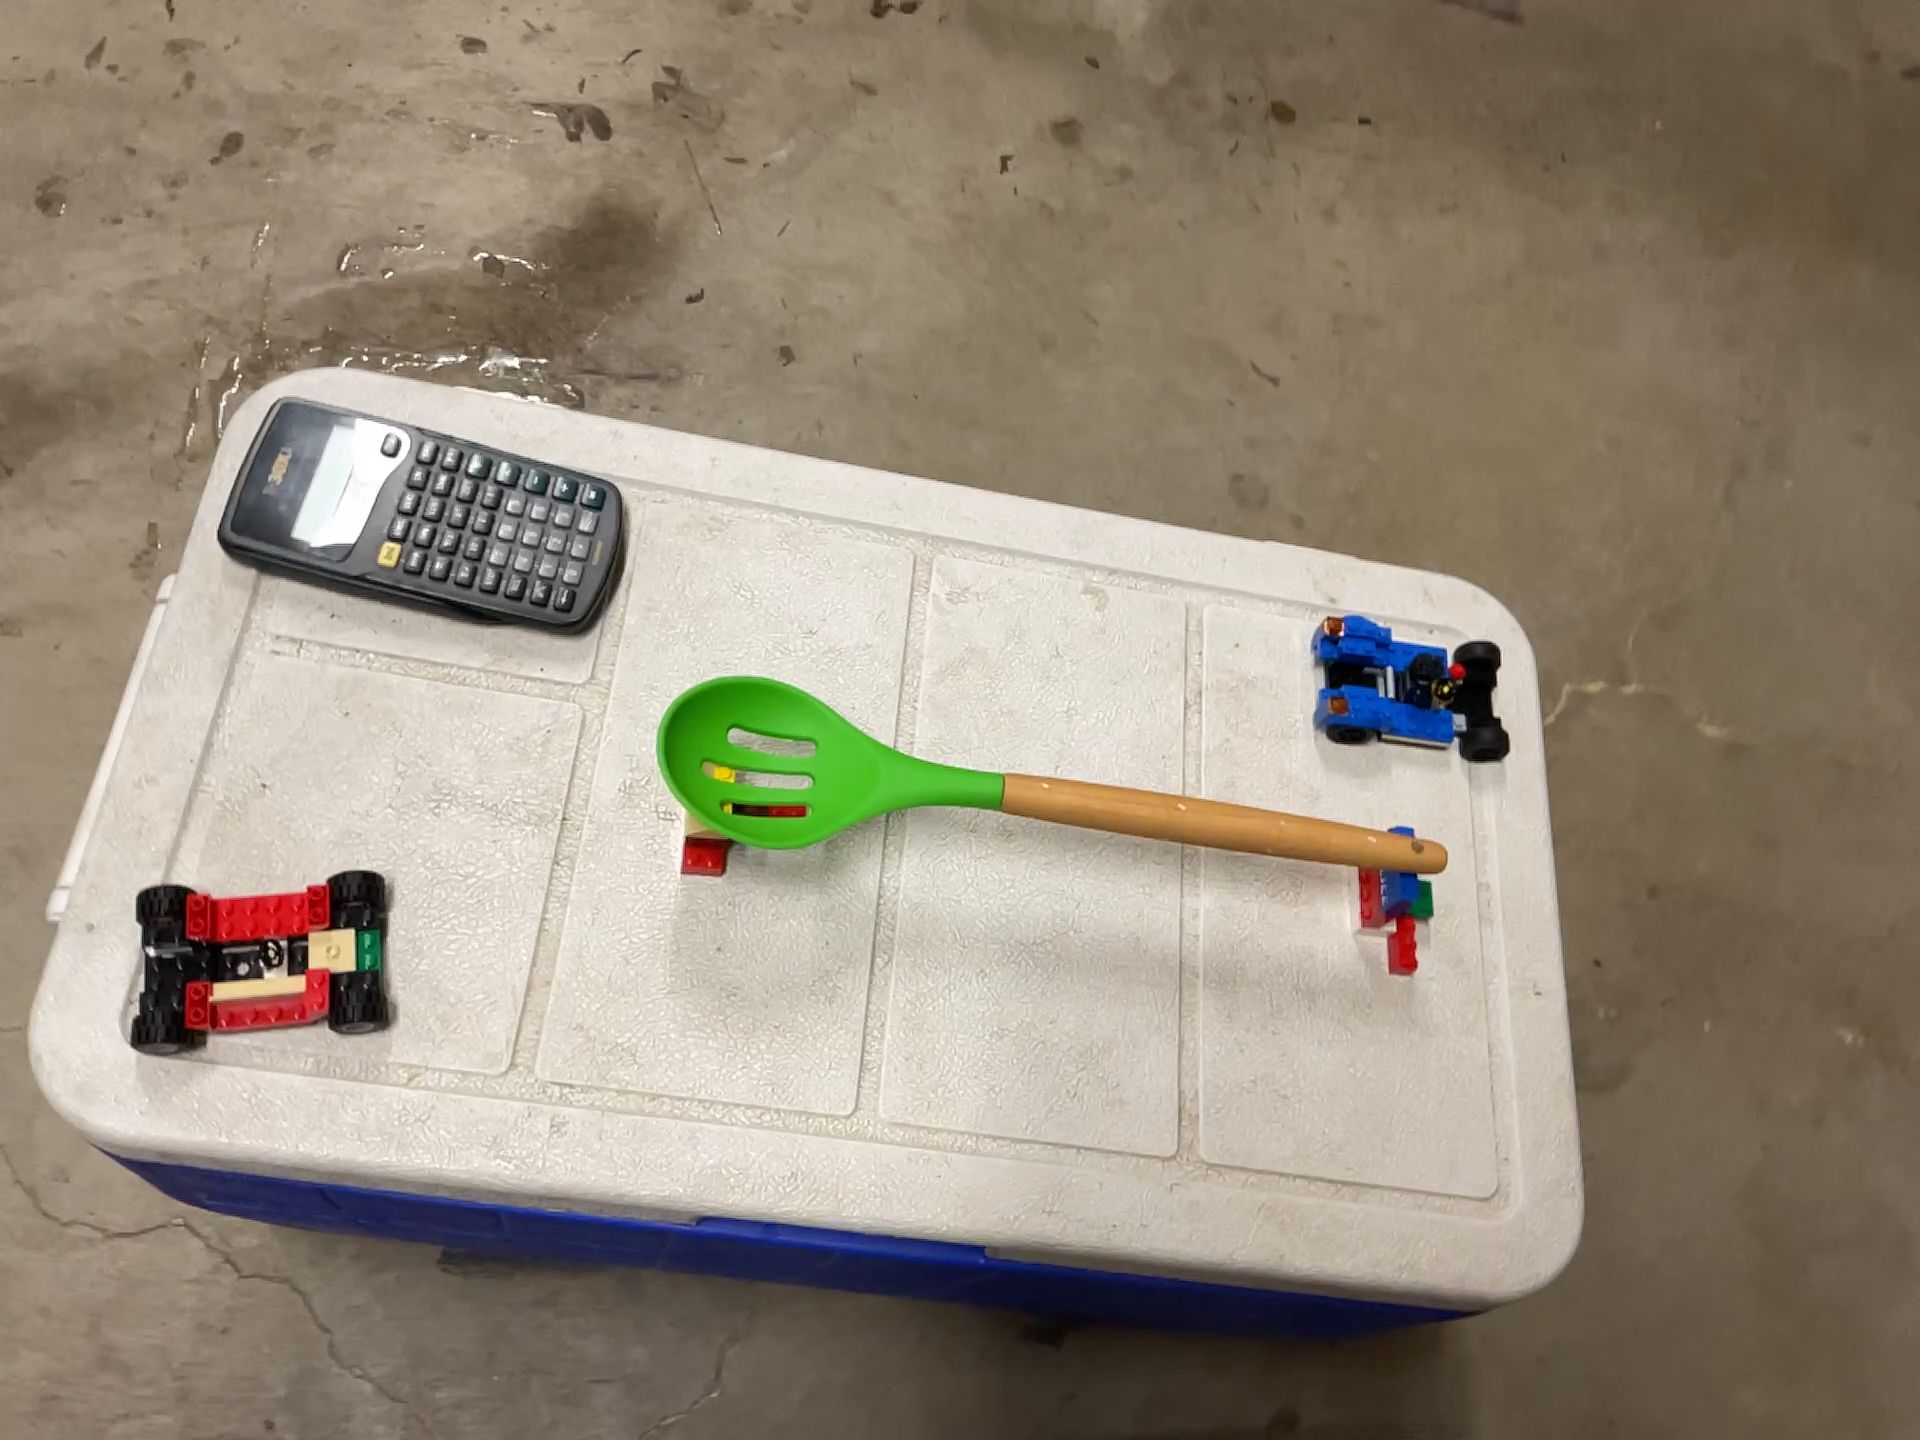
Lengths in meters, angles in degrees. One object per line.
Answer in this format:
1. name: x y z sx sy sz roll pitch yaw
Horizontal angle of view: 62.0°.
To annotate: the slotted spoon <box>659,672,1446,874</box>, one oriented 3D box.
1. slotted spoon: 0.041 0.033 0.616 0.314 0.031 0.070 9 62 -10
